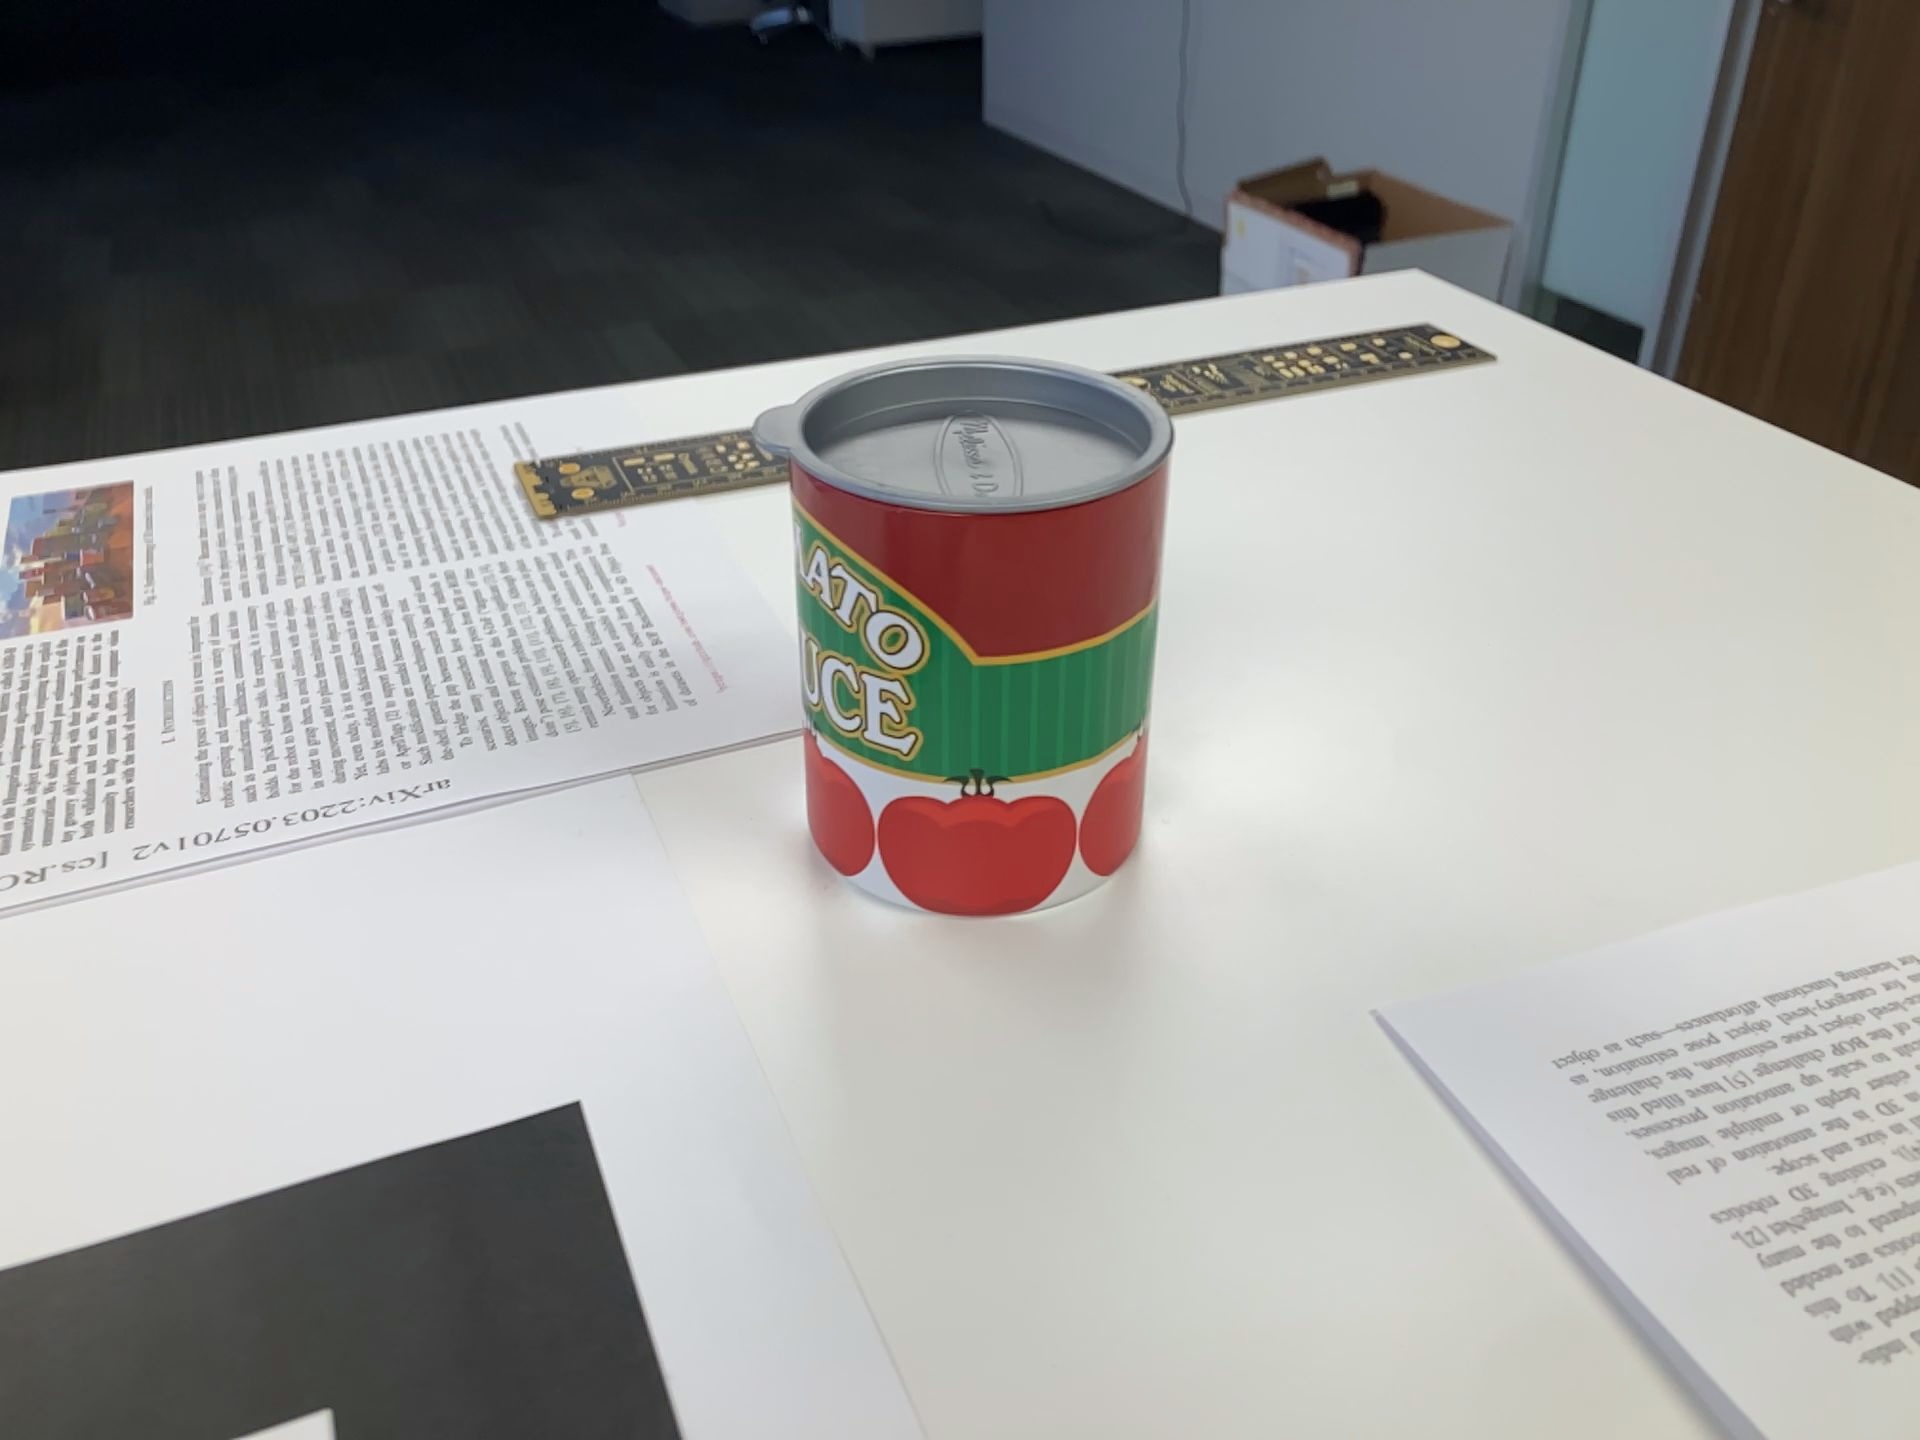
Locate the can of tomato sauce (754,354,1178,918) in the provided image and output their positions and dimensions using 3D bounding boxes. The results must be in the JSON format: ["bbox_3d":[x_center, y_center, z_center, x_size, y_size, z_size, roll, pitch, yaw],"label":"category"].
[{"bbox_3d":[0.001,-0.016,0.289,0.071,0.083,0.071,0,32,0],"label":"can of tomato sauce"}]
